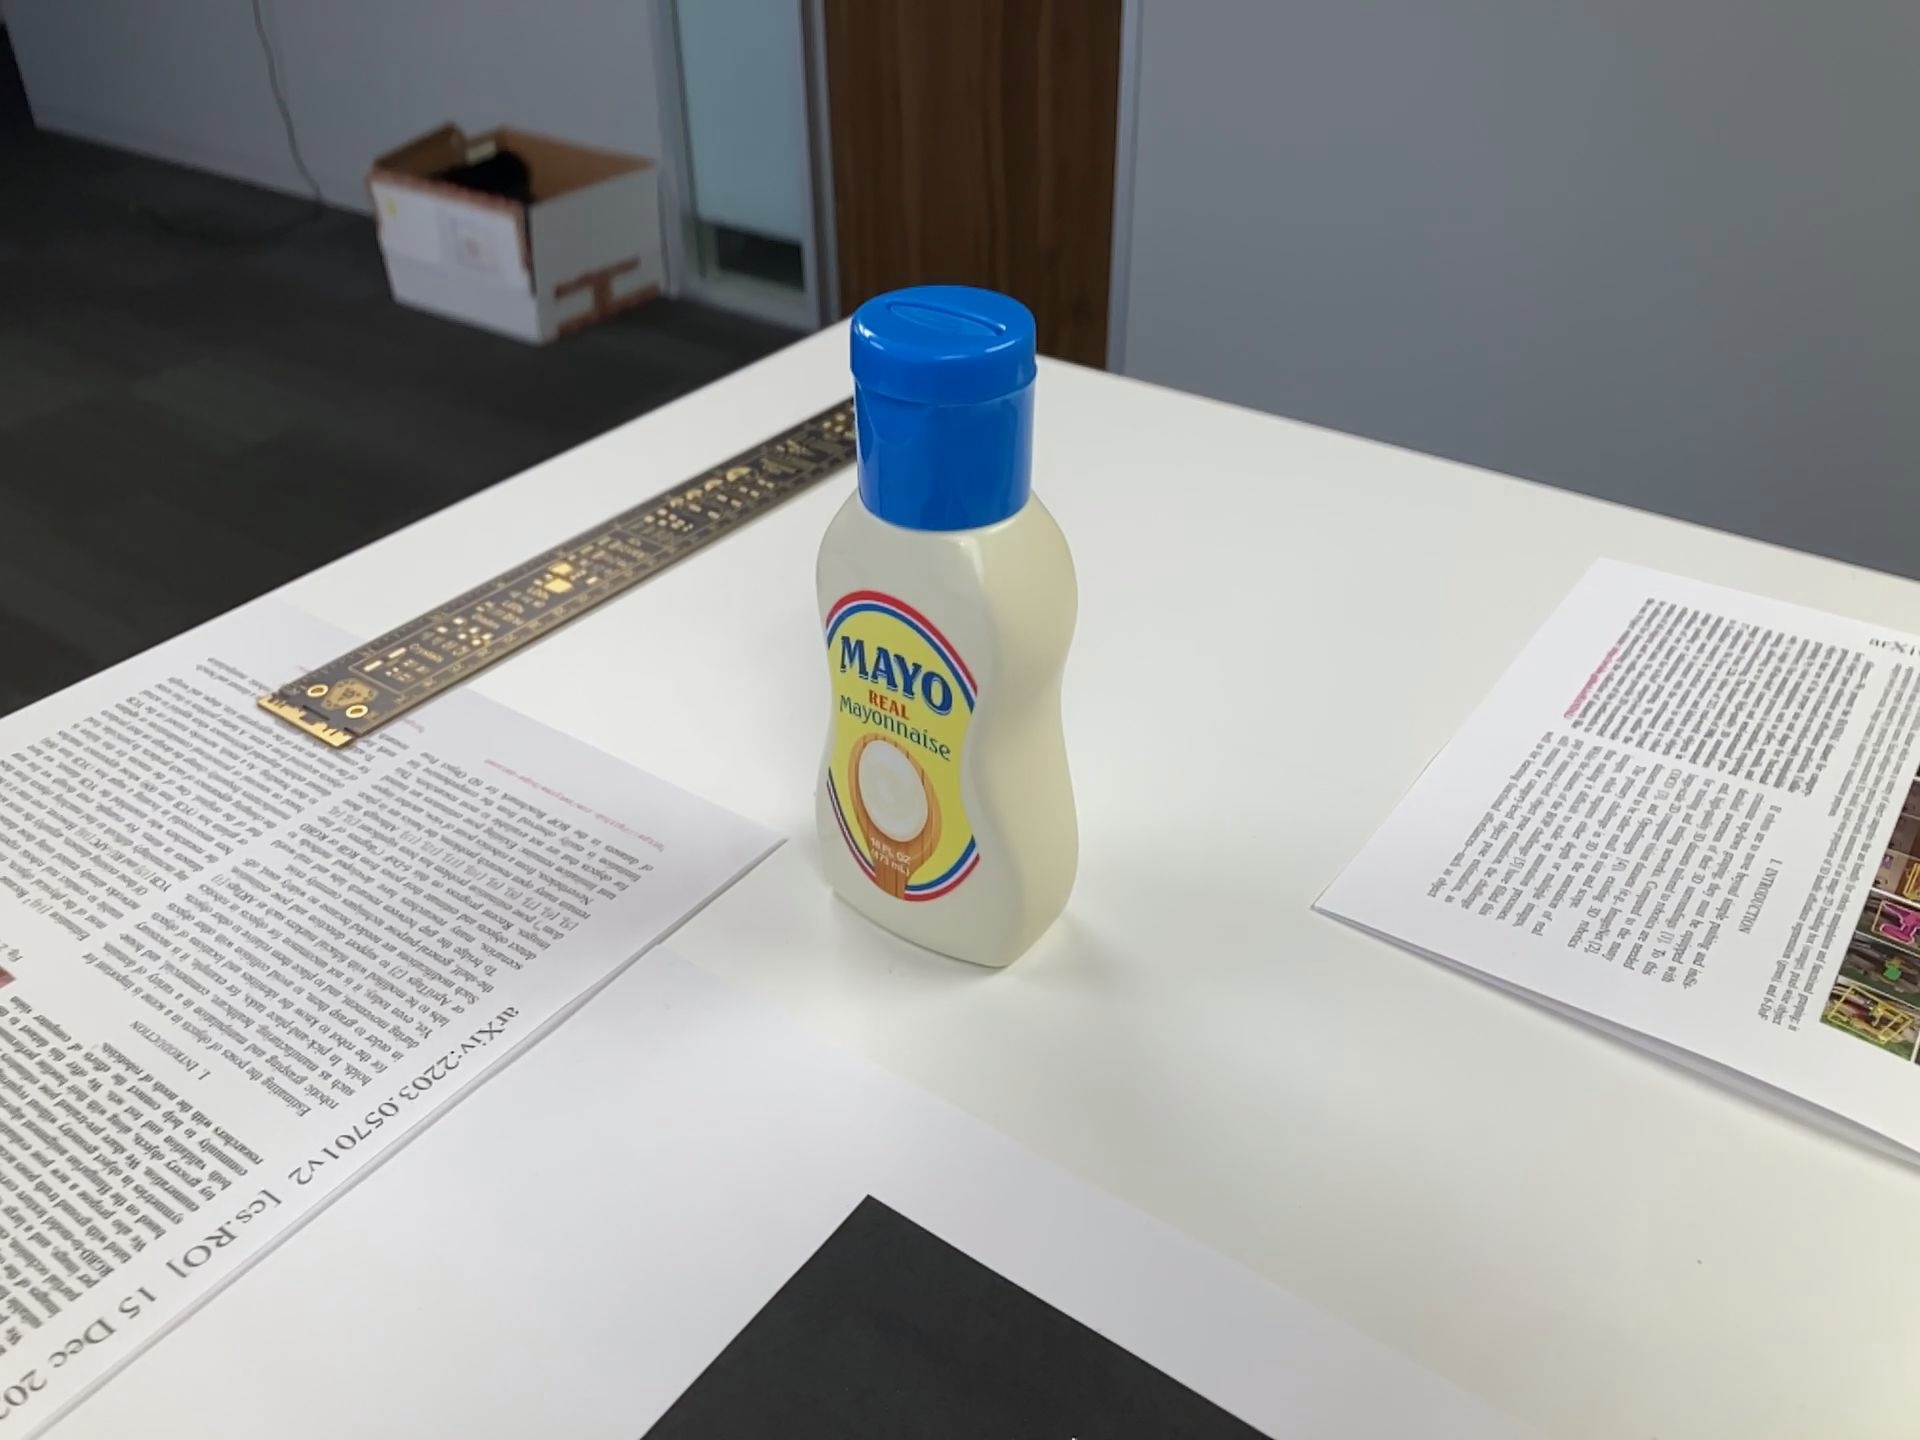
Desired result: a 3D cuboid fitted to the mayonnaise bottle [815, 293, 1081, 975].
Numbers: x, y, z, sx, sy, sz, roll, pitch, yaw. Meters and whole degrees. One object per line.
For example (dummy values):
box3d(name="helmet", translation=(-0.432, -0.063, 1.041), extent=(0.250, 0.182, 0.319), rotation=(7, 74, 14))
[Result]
box3d(name="mayonnaise bottle", translation=(-0.004, -0.016, 0.346), extent=(0.065, 0.148, 0.041), rotation=(22, 41, 29))
